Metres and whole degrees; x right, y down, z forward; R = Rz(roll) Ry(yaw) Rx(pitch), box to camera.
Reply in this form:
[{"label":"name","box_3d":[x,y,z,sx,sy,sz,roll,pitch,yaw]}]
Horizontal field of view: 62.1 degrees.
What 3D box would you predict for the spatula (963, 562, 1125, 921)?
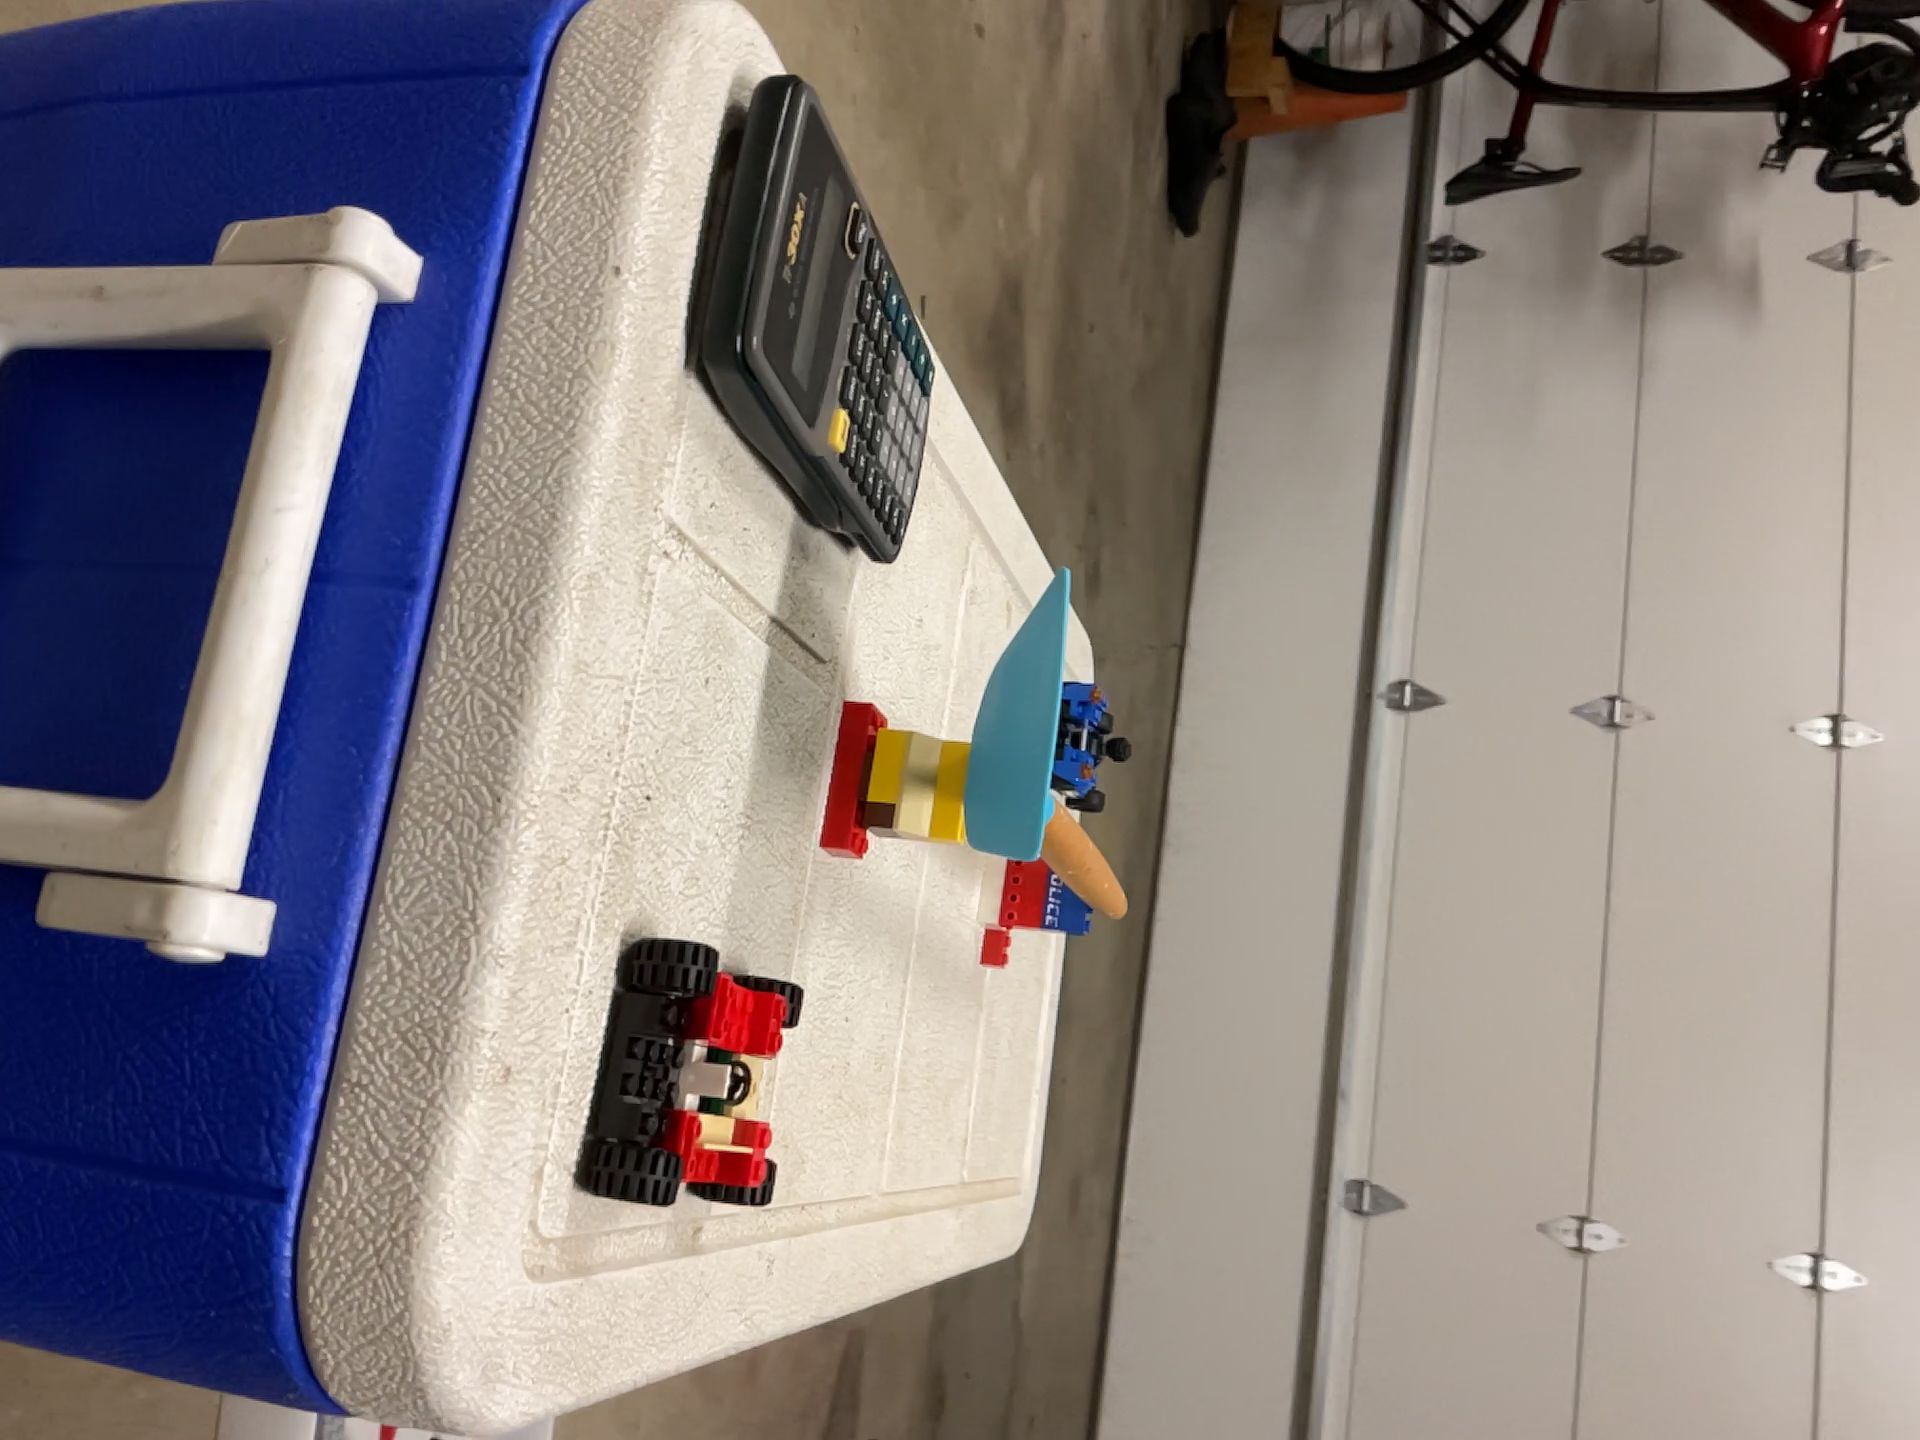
[{"label":"spatula","box_3d":[0.040,0.039,0.558,0.317,0.044,0.082,51,43,-69]}]
